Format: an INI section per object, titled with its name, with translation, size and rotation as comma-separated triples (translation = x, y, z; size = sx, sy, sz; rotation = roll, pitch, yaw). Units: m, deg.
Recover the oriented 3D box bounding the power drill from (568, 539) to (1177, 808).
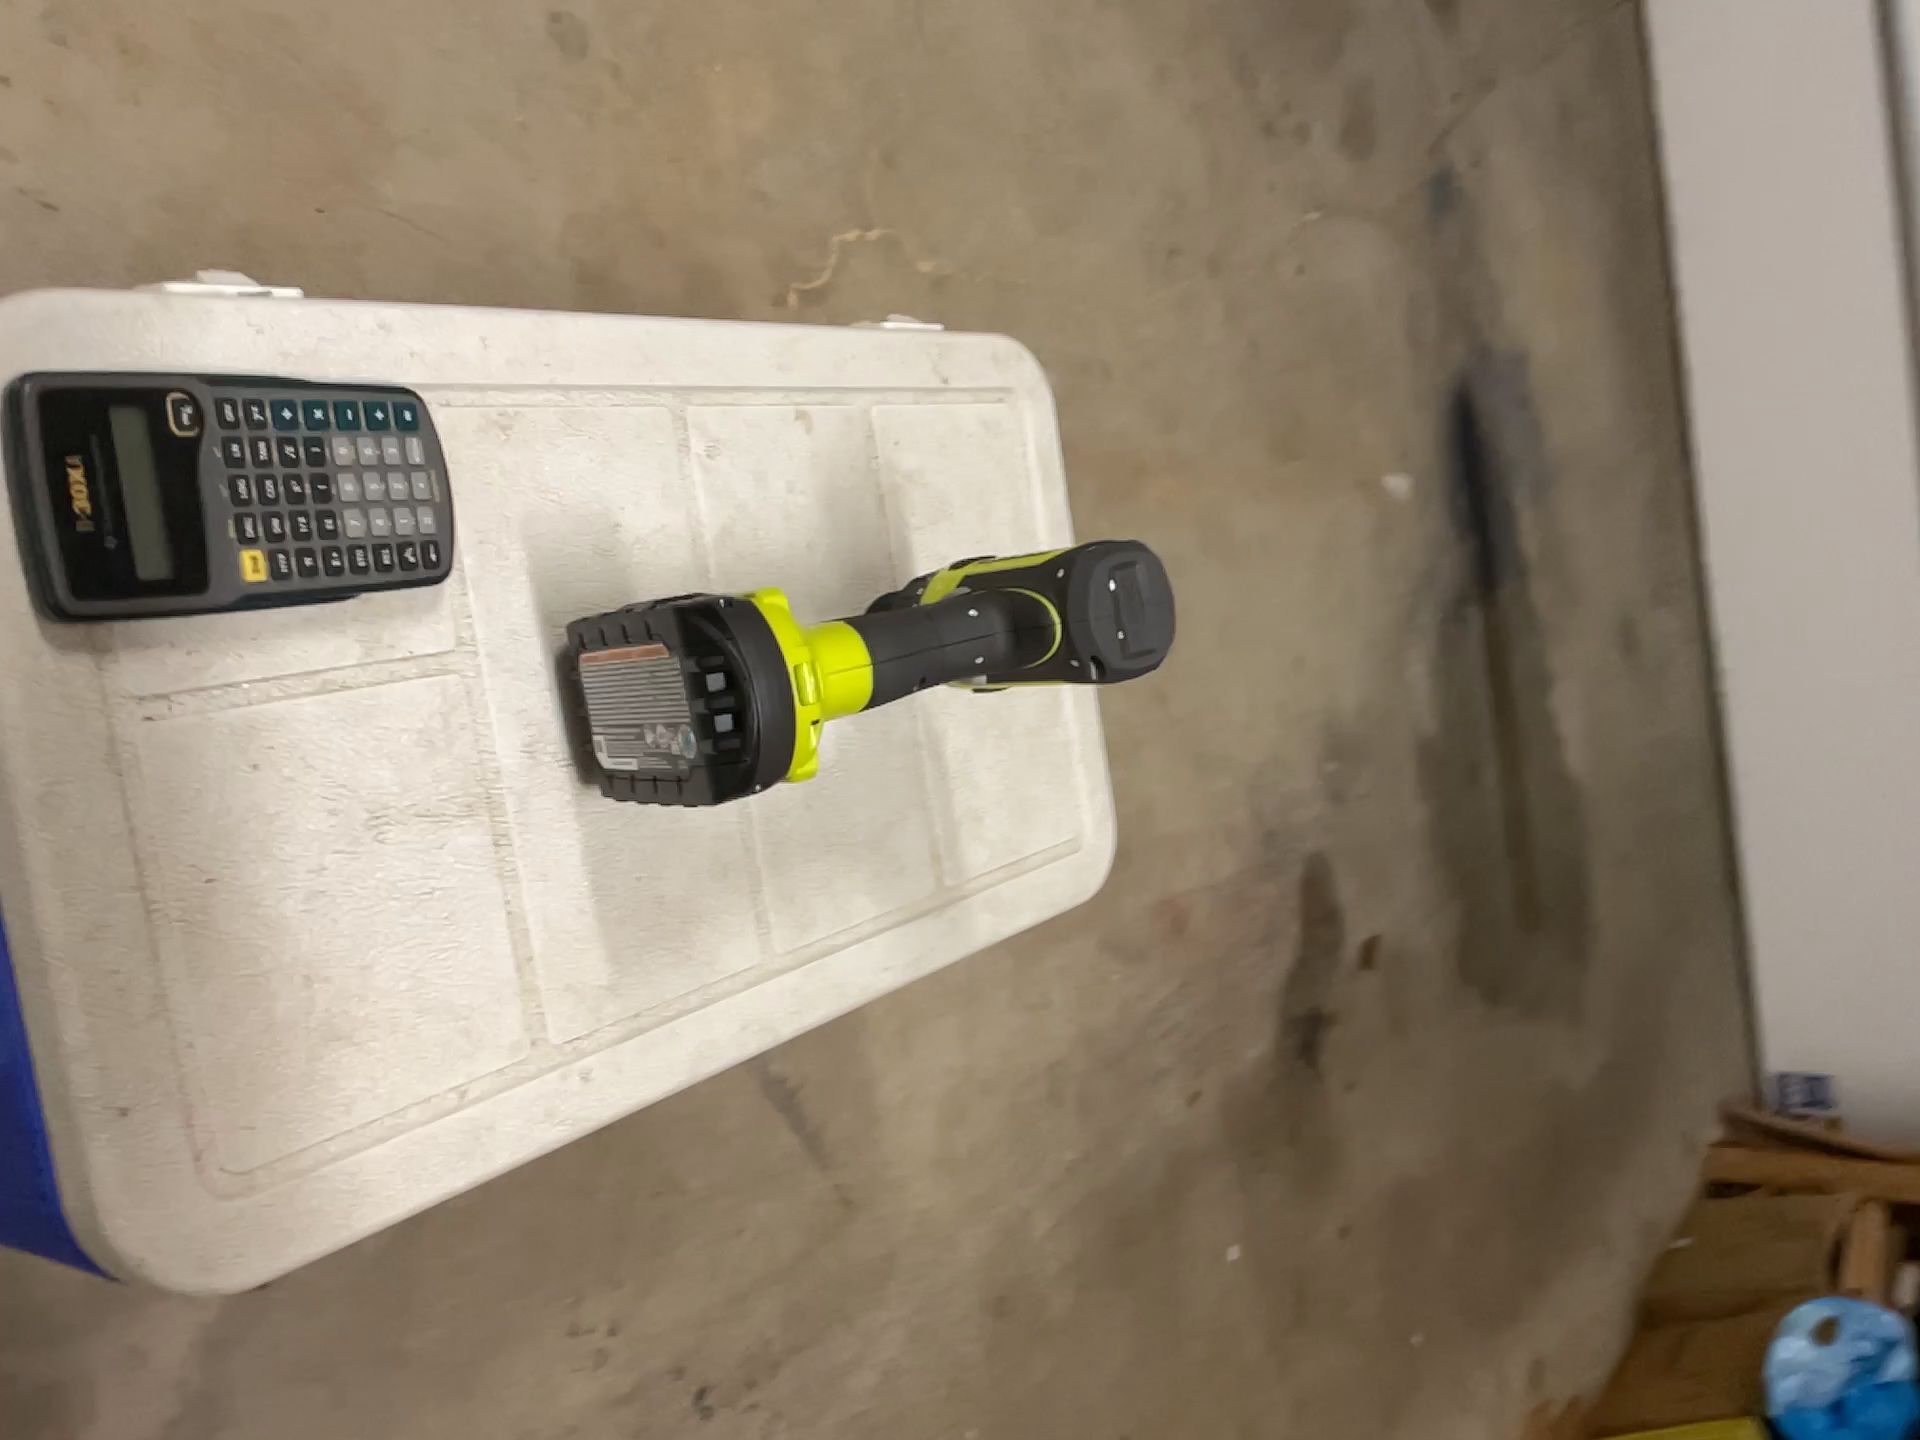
[power drill]
translation = -0.046, -0.028, 0.696
size = 0.229, 0.190, 0.080
rotation = -15, 98, -37
